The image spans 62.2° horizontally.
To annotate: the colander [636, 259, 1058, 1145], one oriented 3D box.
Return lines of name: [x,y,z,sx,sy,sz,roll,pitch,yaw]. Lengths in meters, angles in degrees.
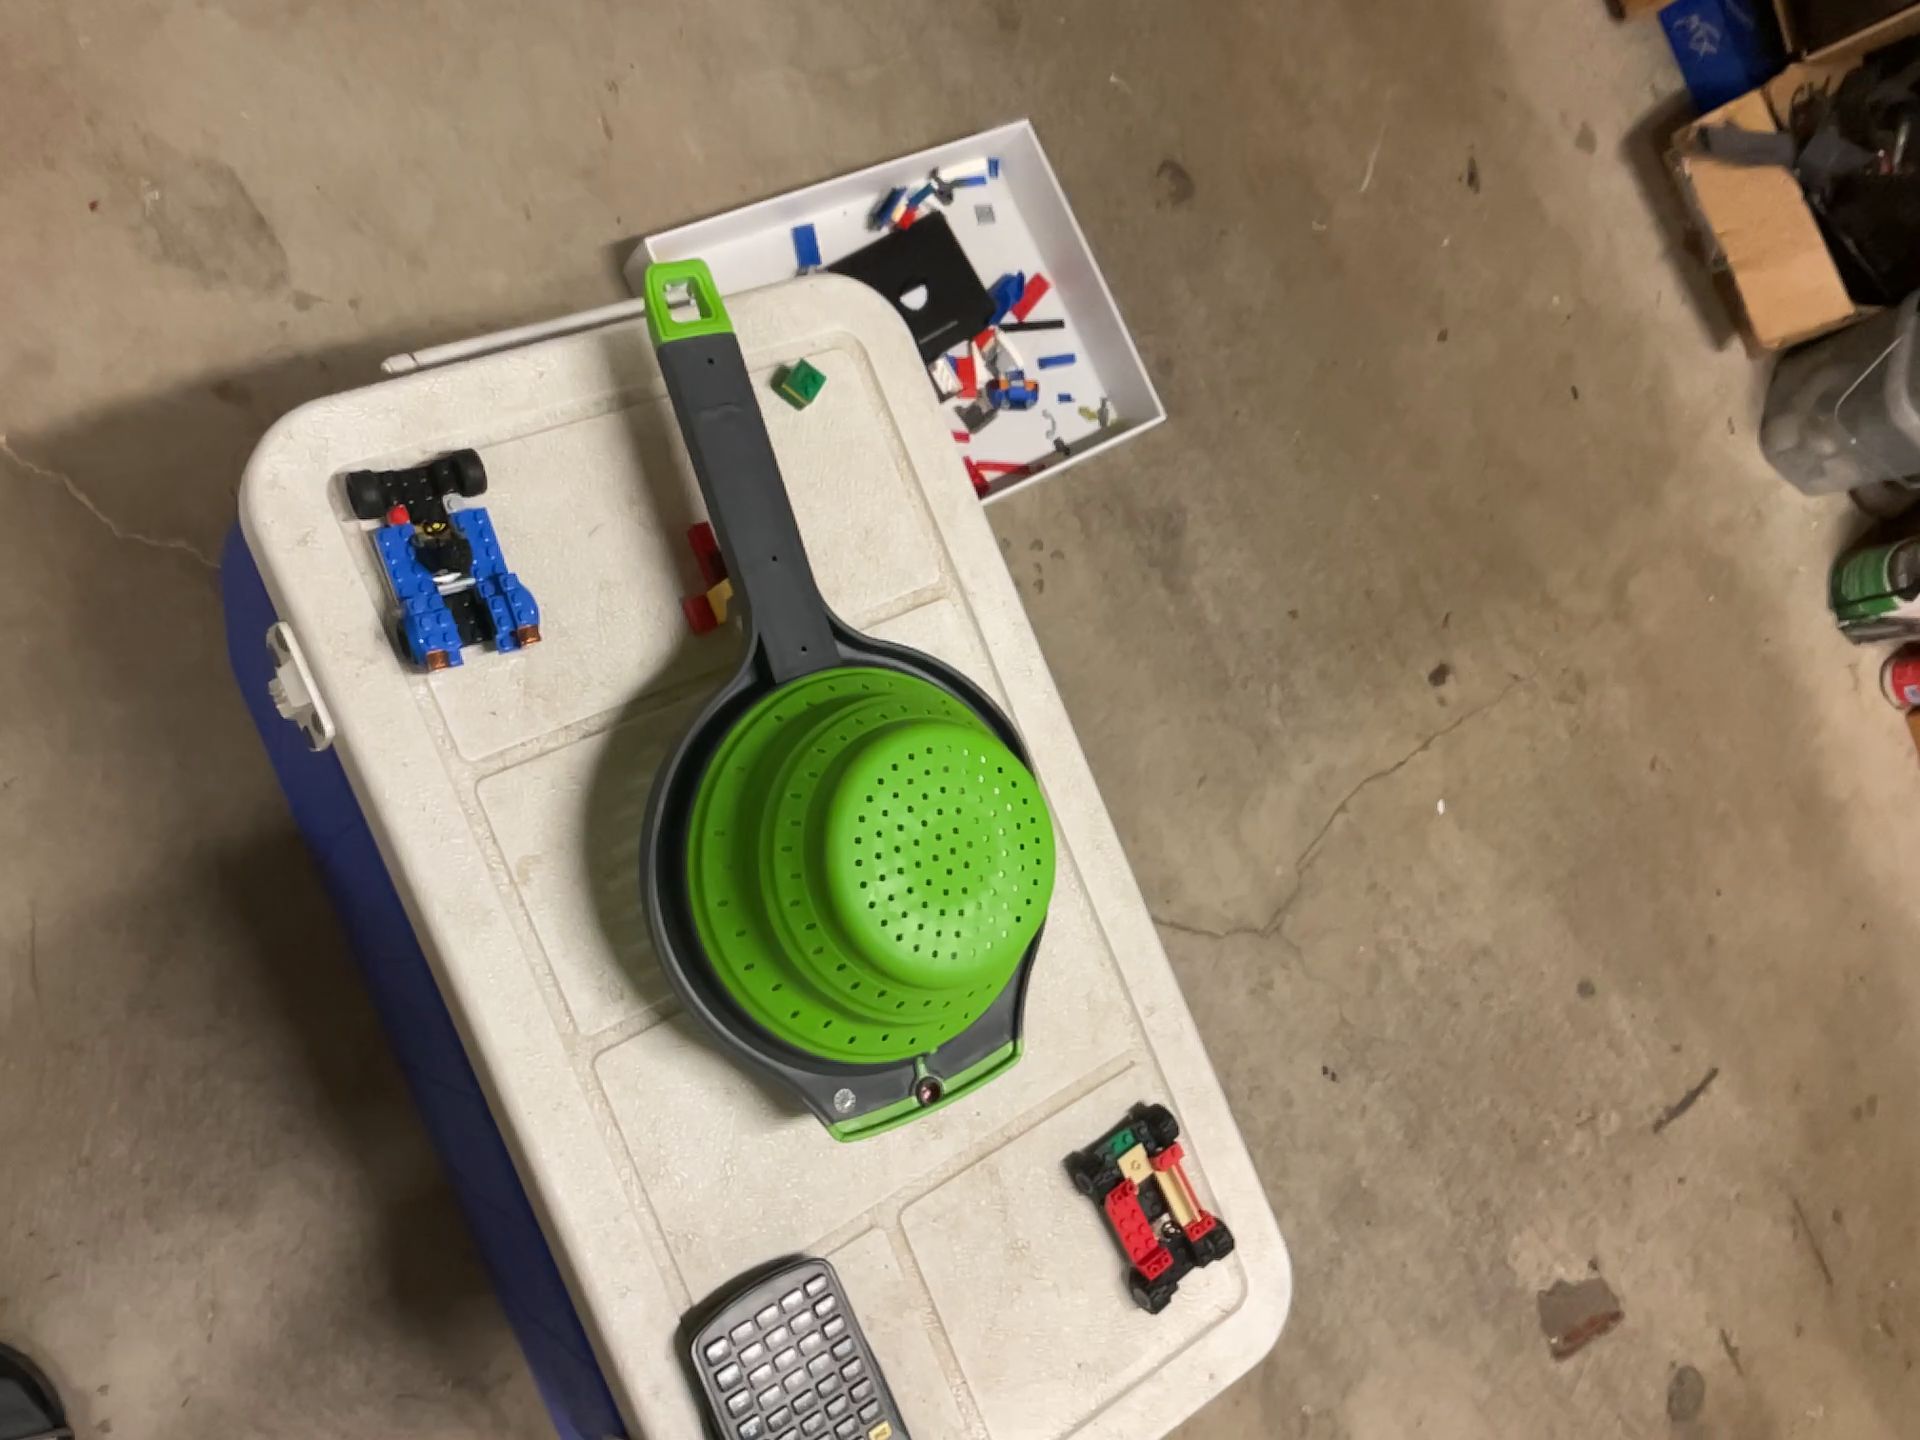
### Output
colander: [-0.052,-0.019,0.680,0.204,0.094,0.397,-18,91,-30]
